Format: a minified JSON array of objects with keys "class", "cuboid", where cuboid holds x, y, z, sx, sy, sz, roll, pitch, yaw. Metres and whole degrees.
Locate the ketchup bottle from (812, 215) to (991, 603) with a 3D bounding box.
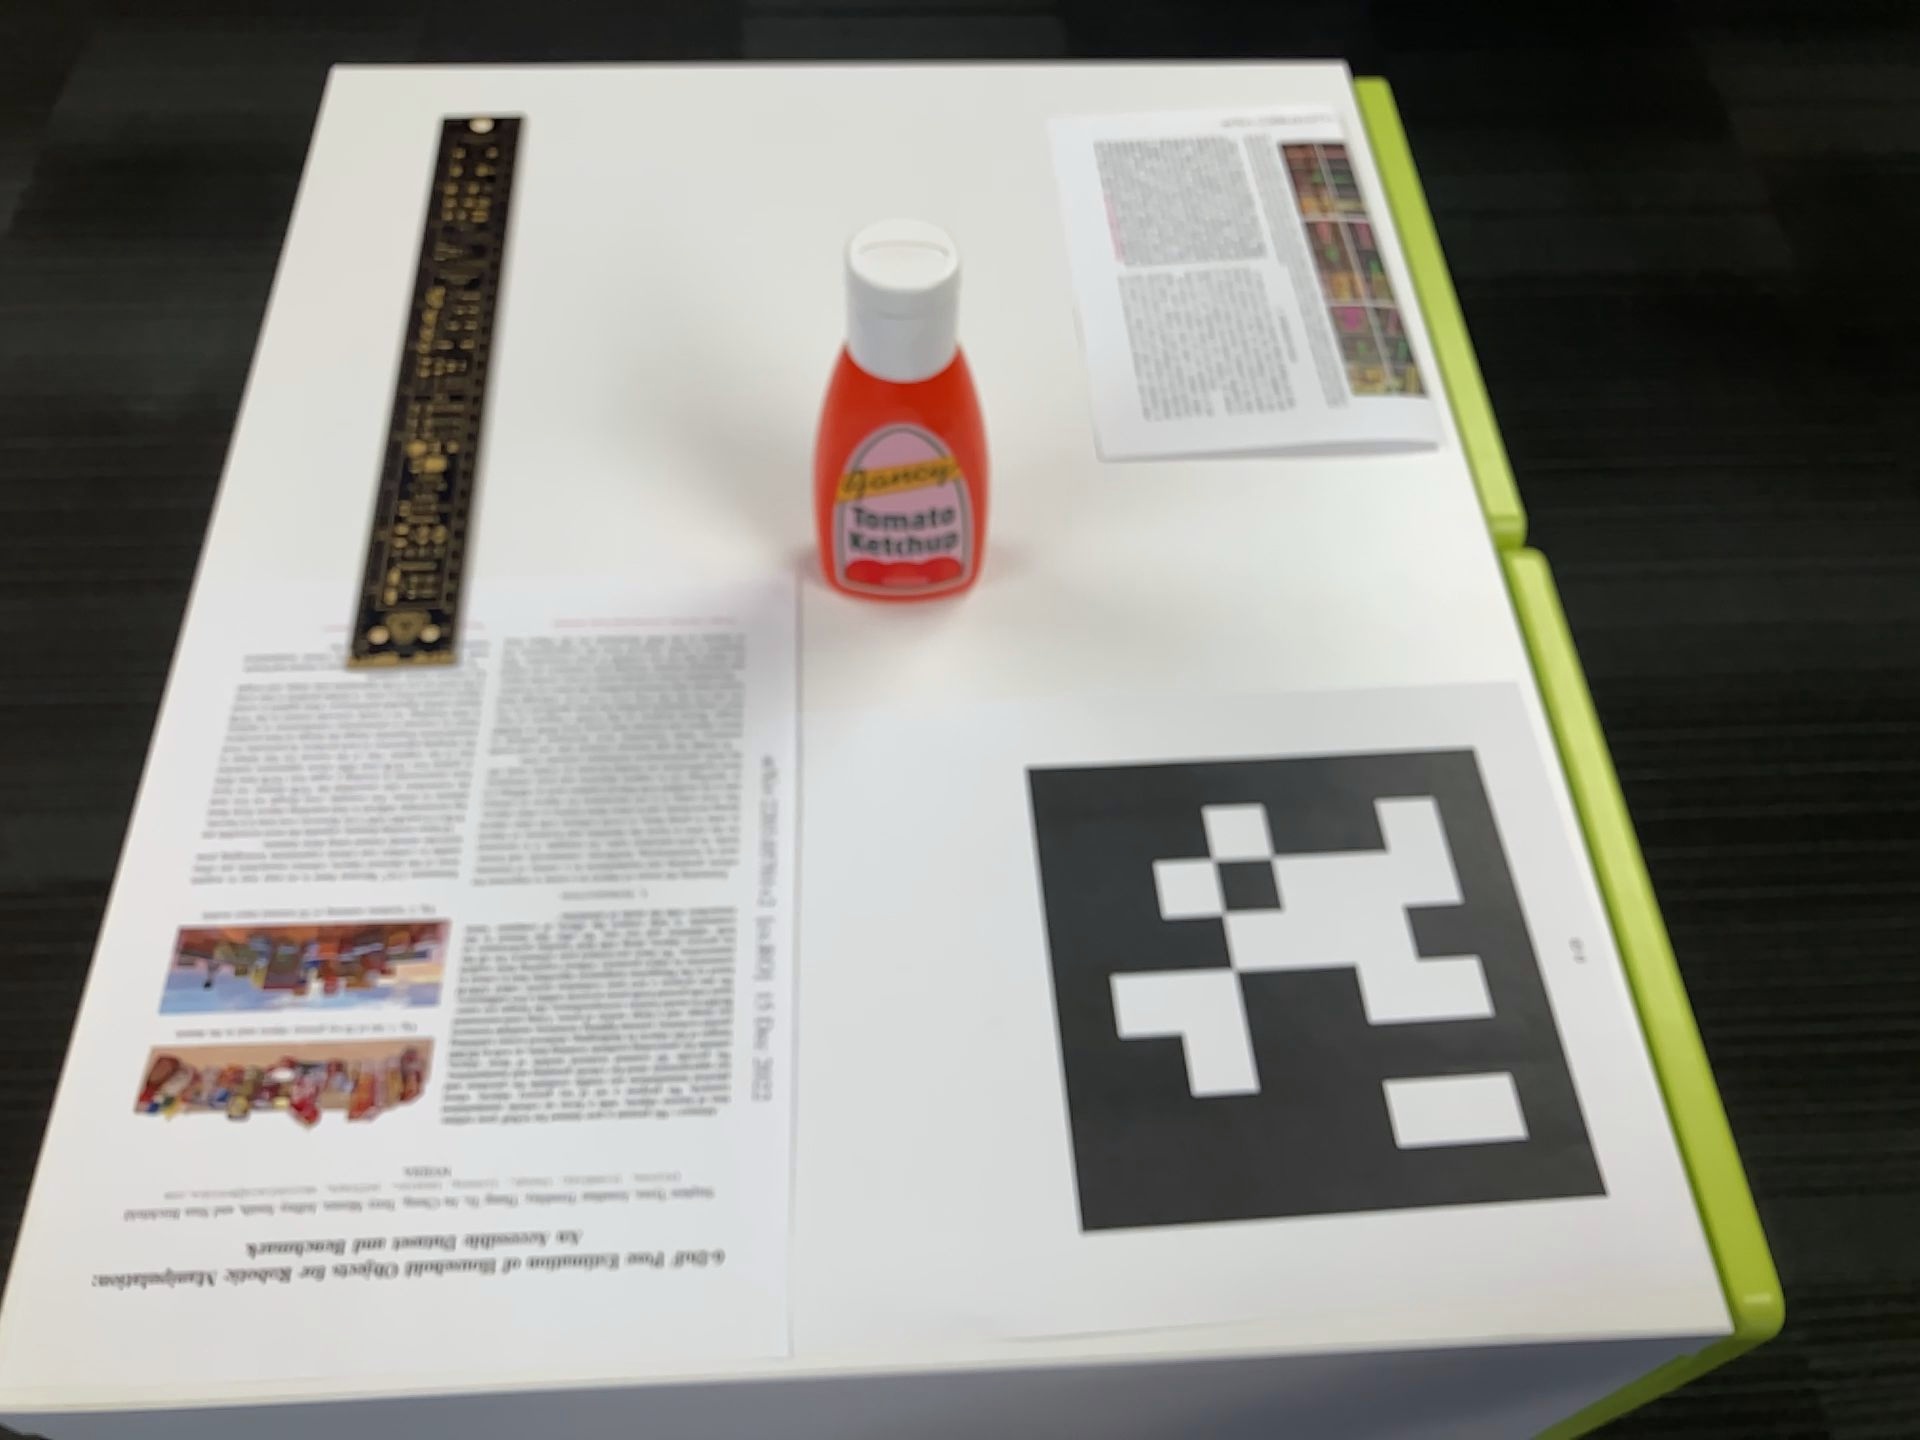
[{"class":"ketchup bottle","cuboid":[-0.020,-0.103,0.554,0.065,0.149,0.043,-1,55,-3]}]
